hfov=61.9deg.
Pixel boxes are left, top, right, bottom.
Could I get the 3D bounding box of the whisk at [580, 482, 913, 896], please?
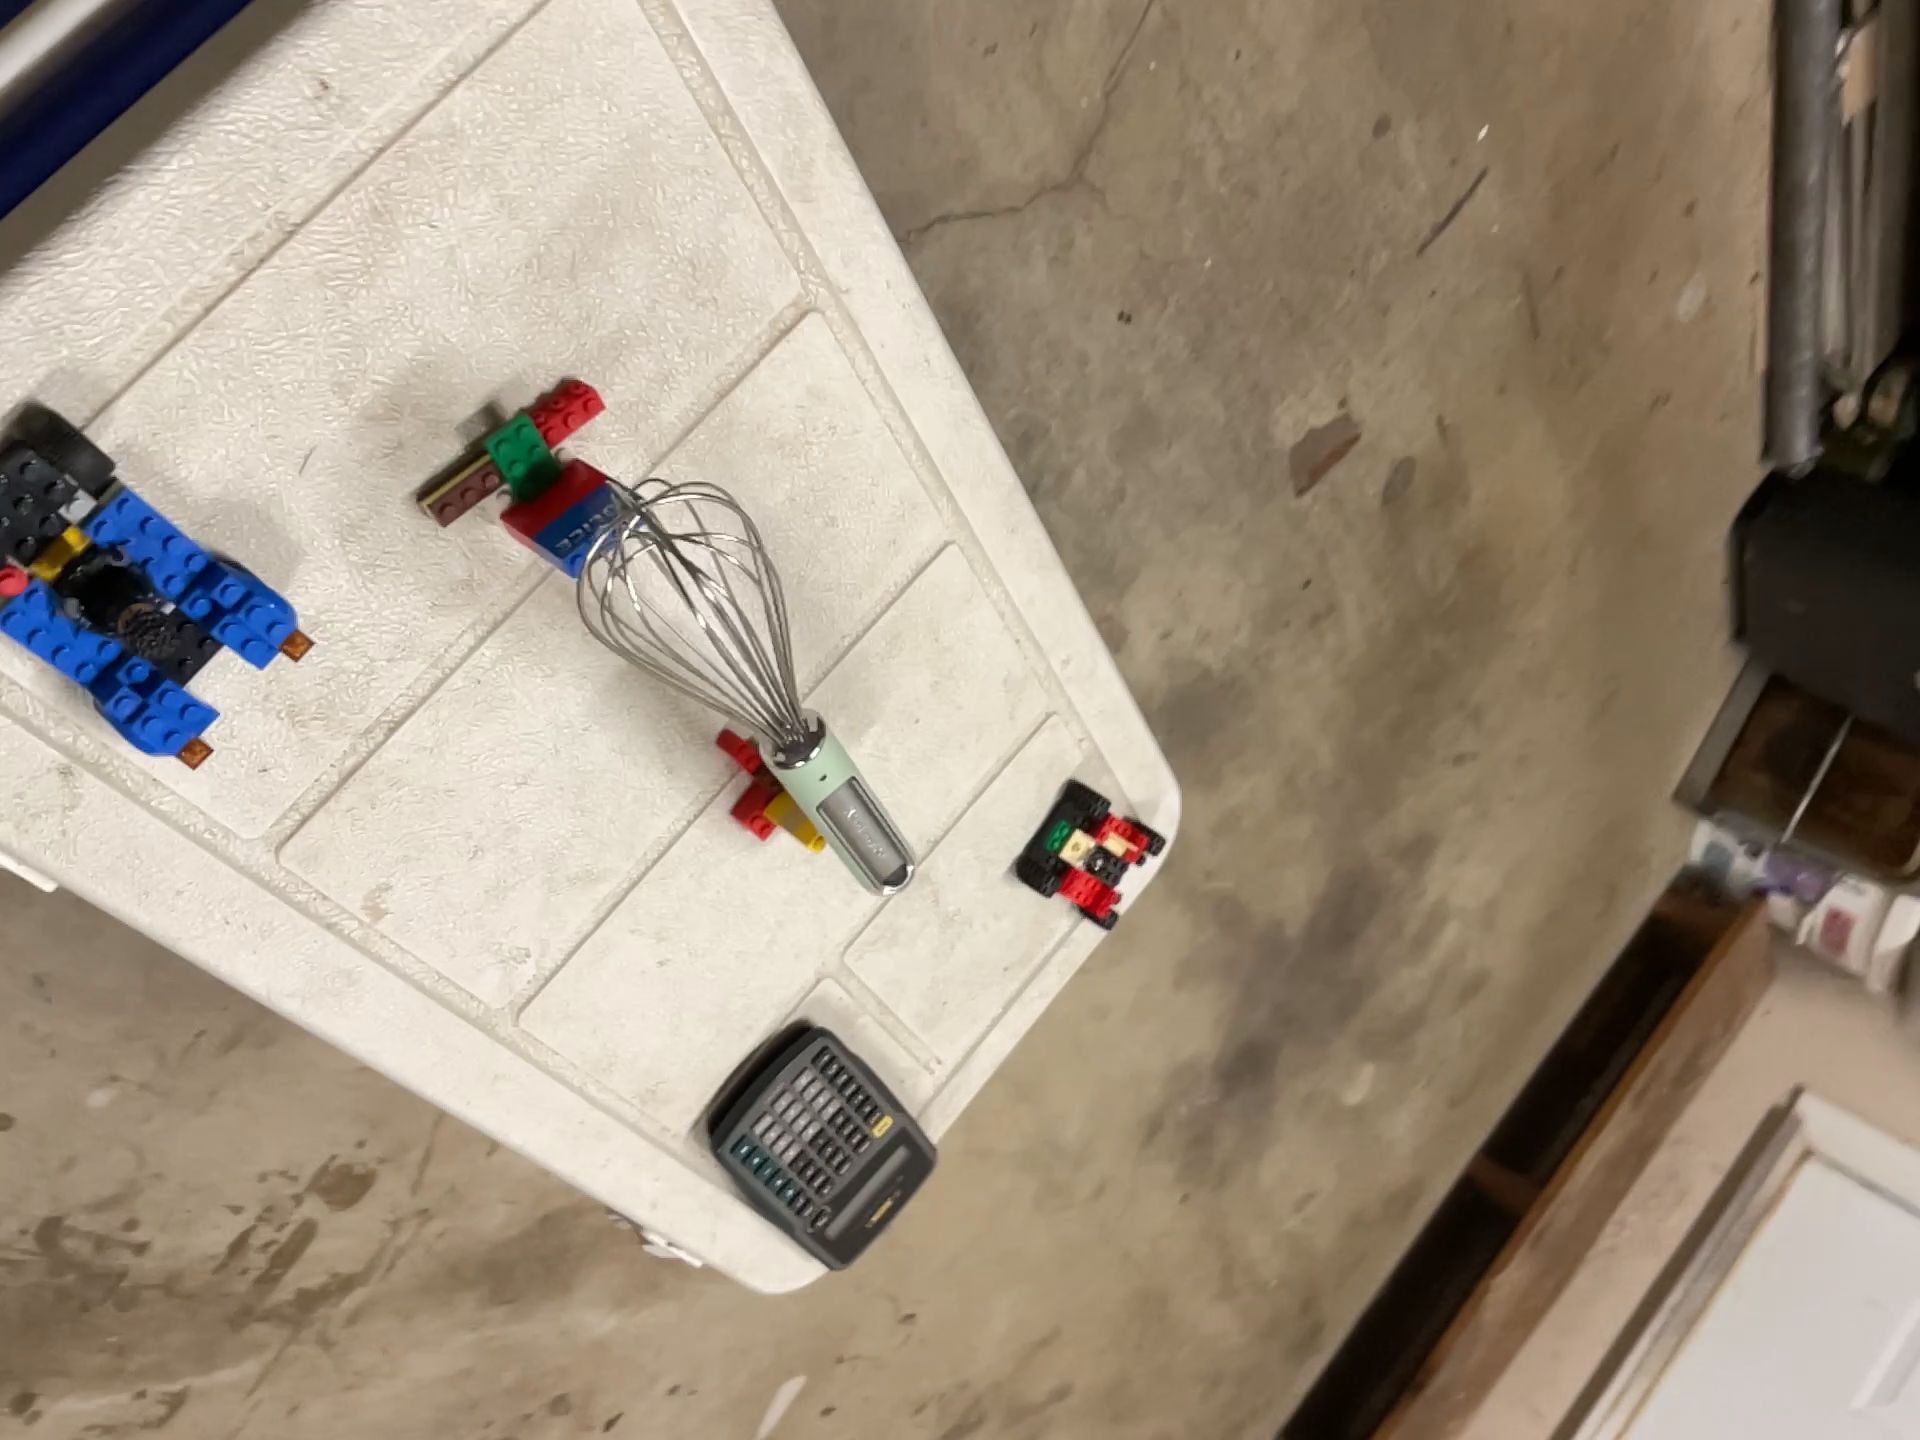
[{"bbox_3d":[-0.060,0.002,0.546,0.058,0.059,0.246,-42,146,-9],"label":"whisk"}]
